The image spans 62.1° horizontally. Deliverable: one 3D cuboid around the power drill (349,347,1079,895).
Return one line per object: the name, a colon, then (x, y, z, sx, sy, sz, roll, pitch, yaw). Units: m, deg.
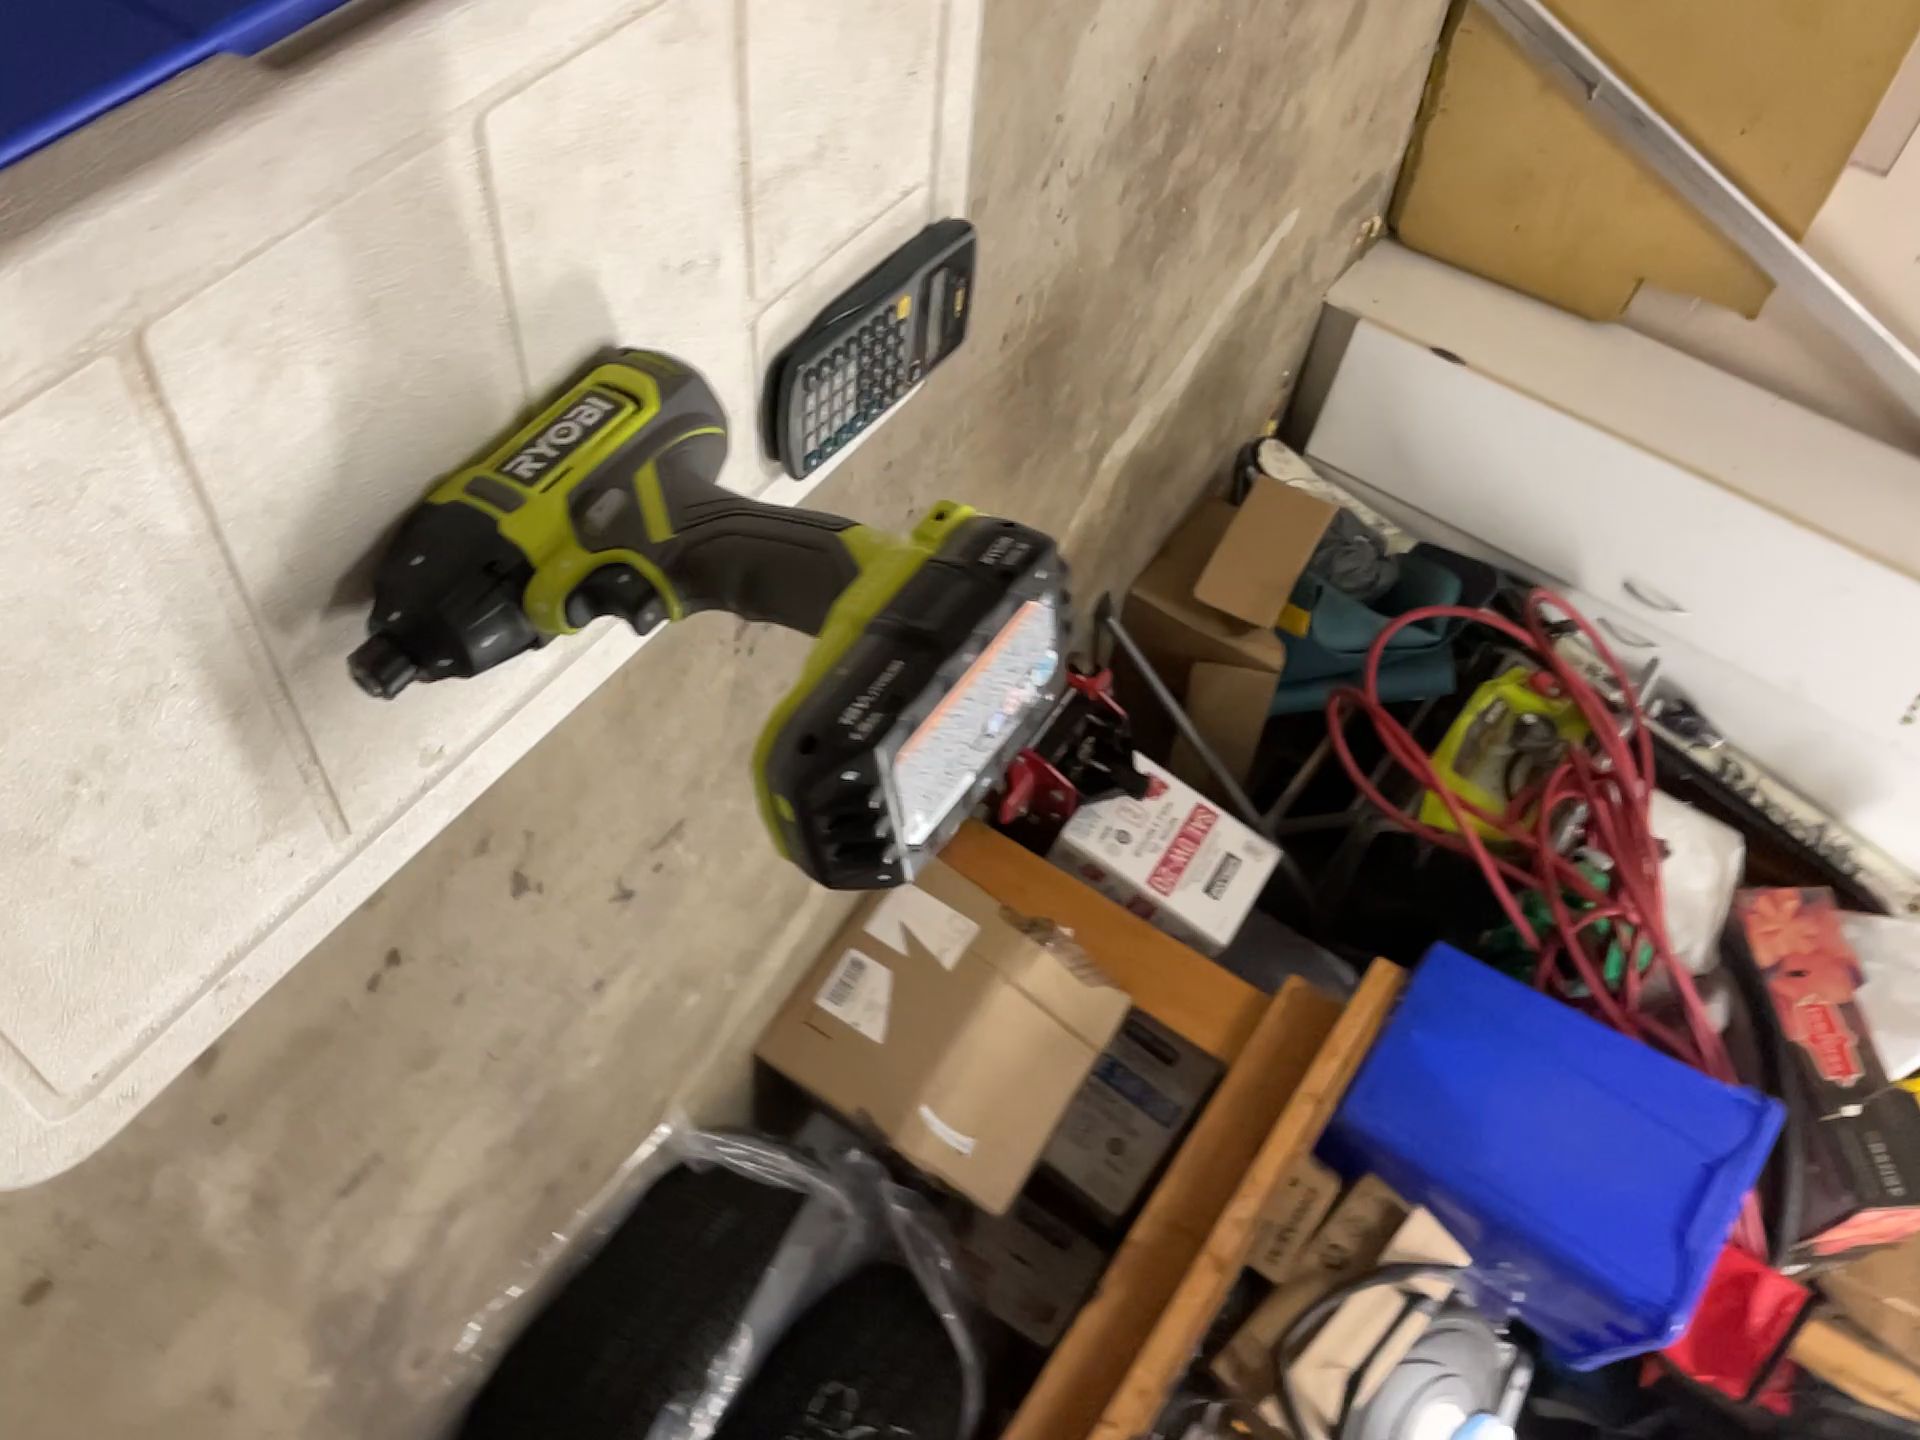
power drill: (-0.088, -0.037, 0.555, 0.171, 0.223, 0.080, -50, 151, -29)
